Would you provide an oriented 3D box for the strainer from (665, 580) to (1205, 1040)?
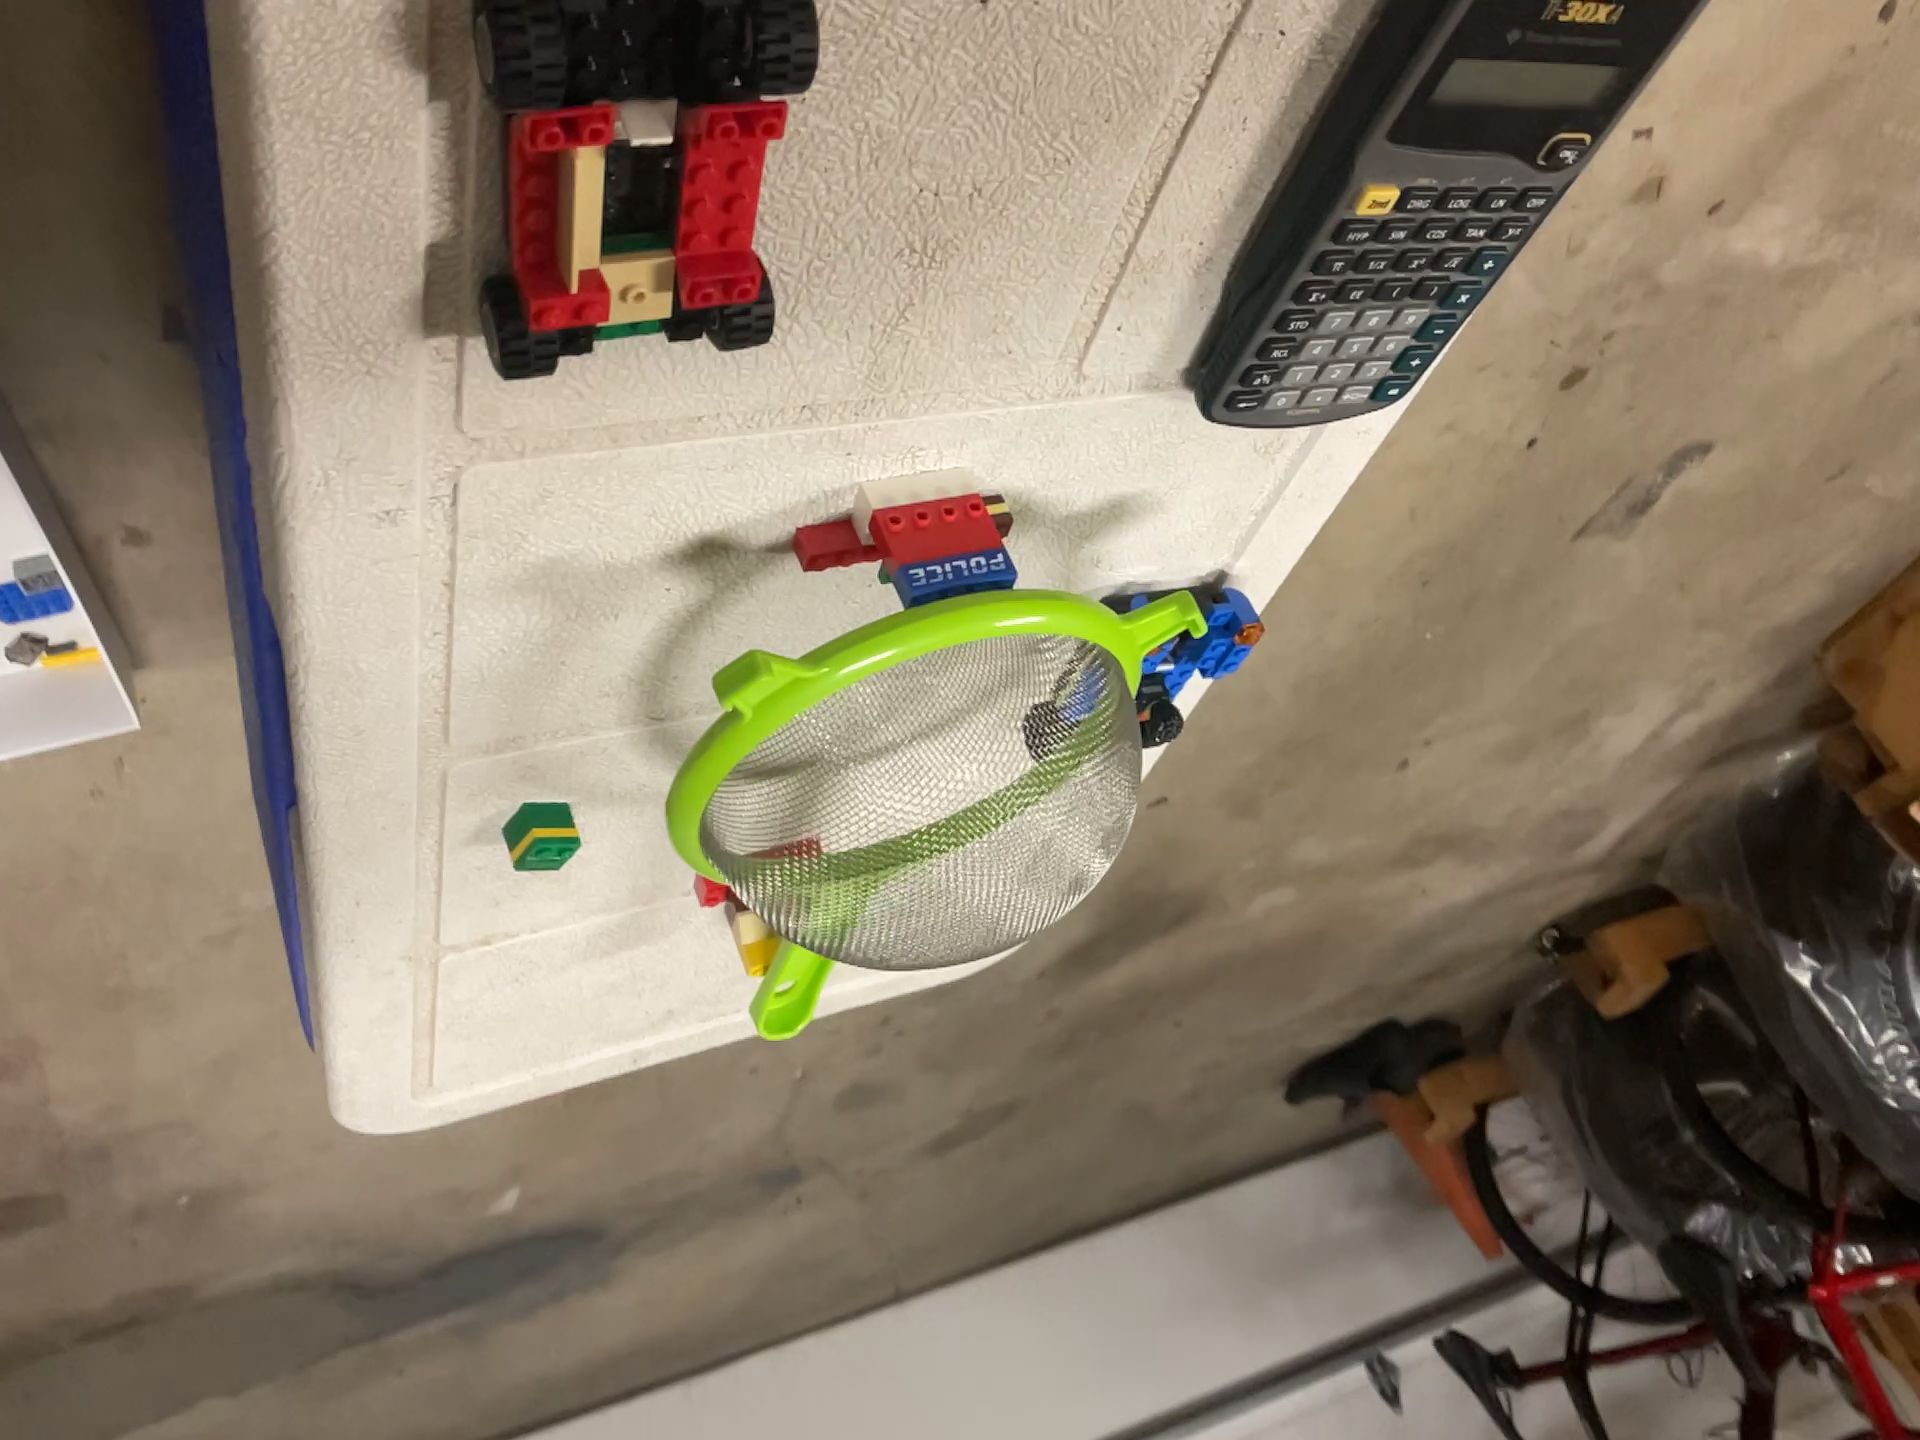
[{"bbox_3d":[-0.021,0.061,0.507,0.151,0.069,0.256,-11,149,-29],"label":"strainer"}]
